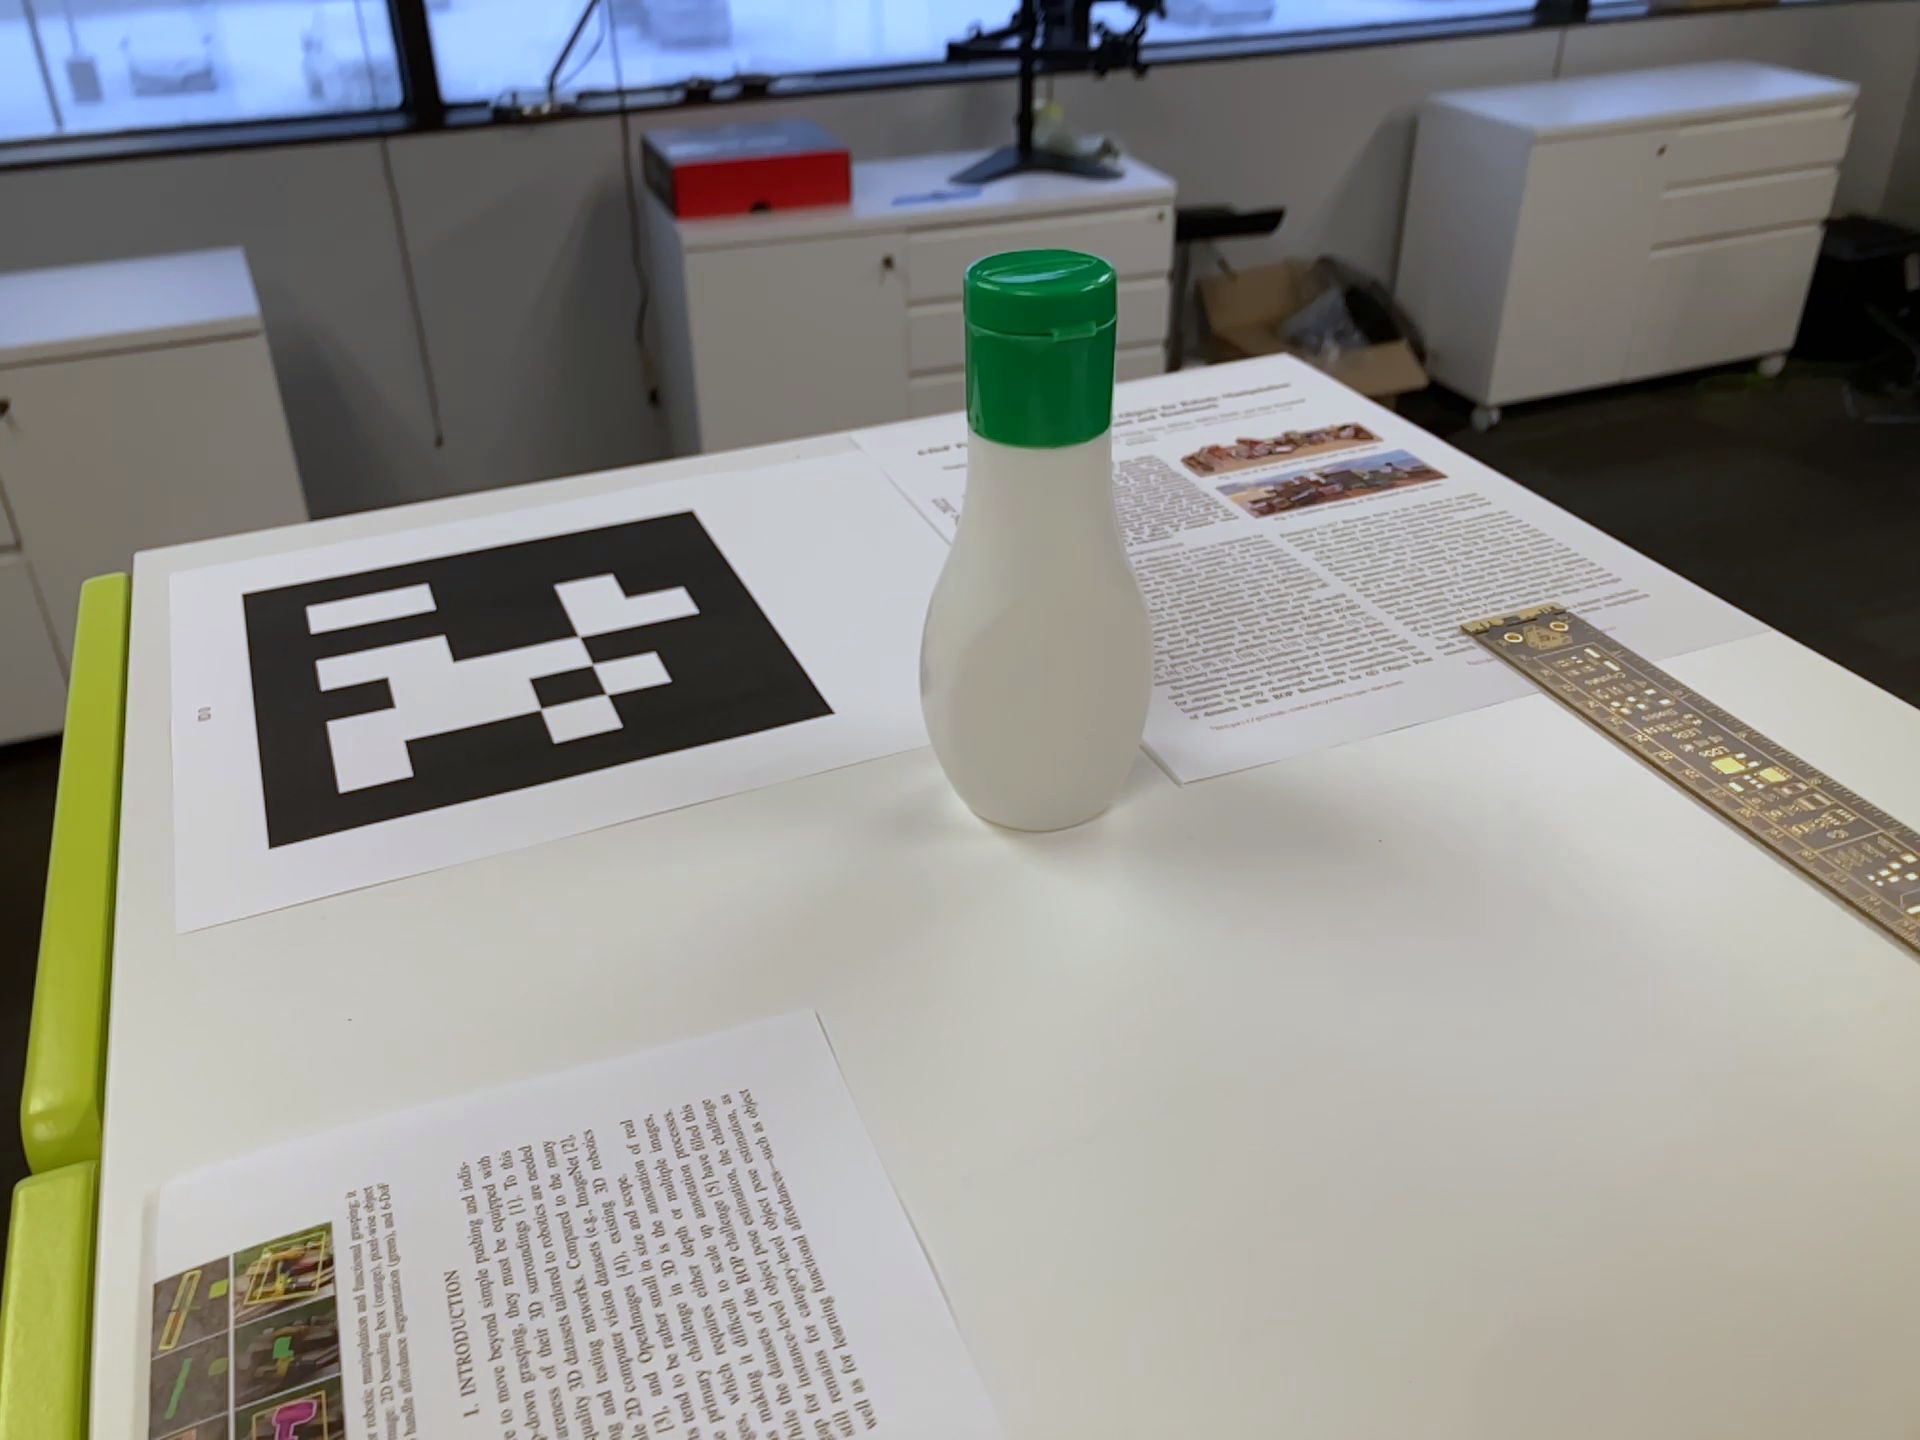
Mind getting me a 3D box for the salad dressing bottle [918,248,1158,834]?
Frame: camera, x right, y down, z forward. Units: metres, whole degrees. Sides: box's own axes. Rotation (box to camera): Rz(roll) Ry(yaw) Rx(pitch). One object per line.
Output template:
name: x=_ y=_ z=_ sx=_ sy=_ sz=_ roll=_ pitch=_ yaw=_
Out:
salad dressing bottle: x=0.020 y=-0.043 z=0.406 sx=0.064 sy=0.147 sz=0.044 roll=-13 pitch=34 yaw=-18
